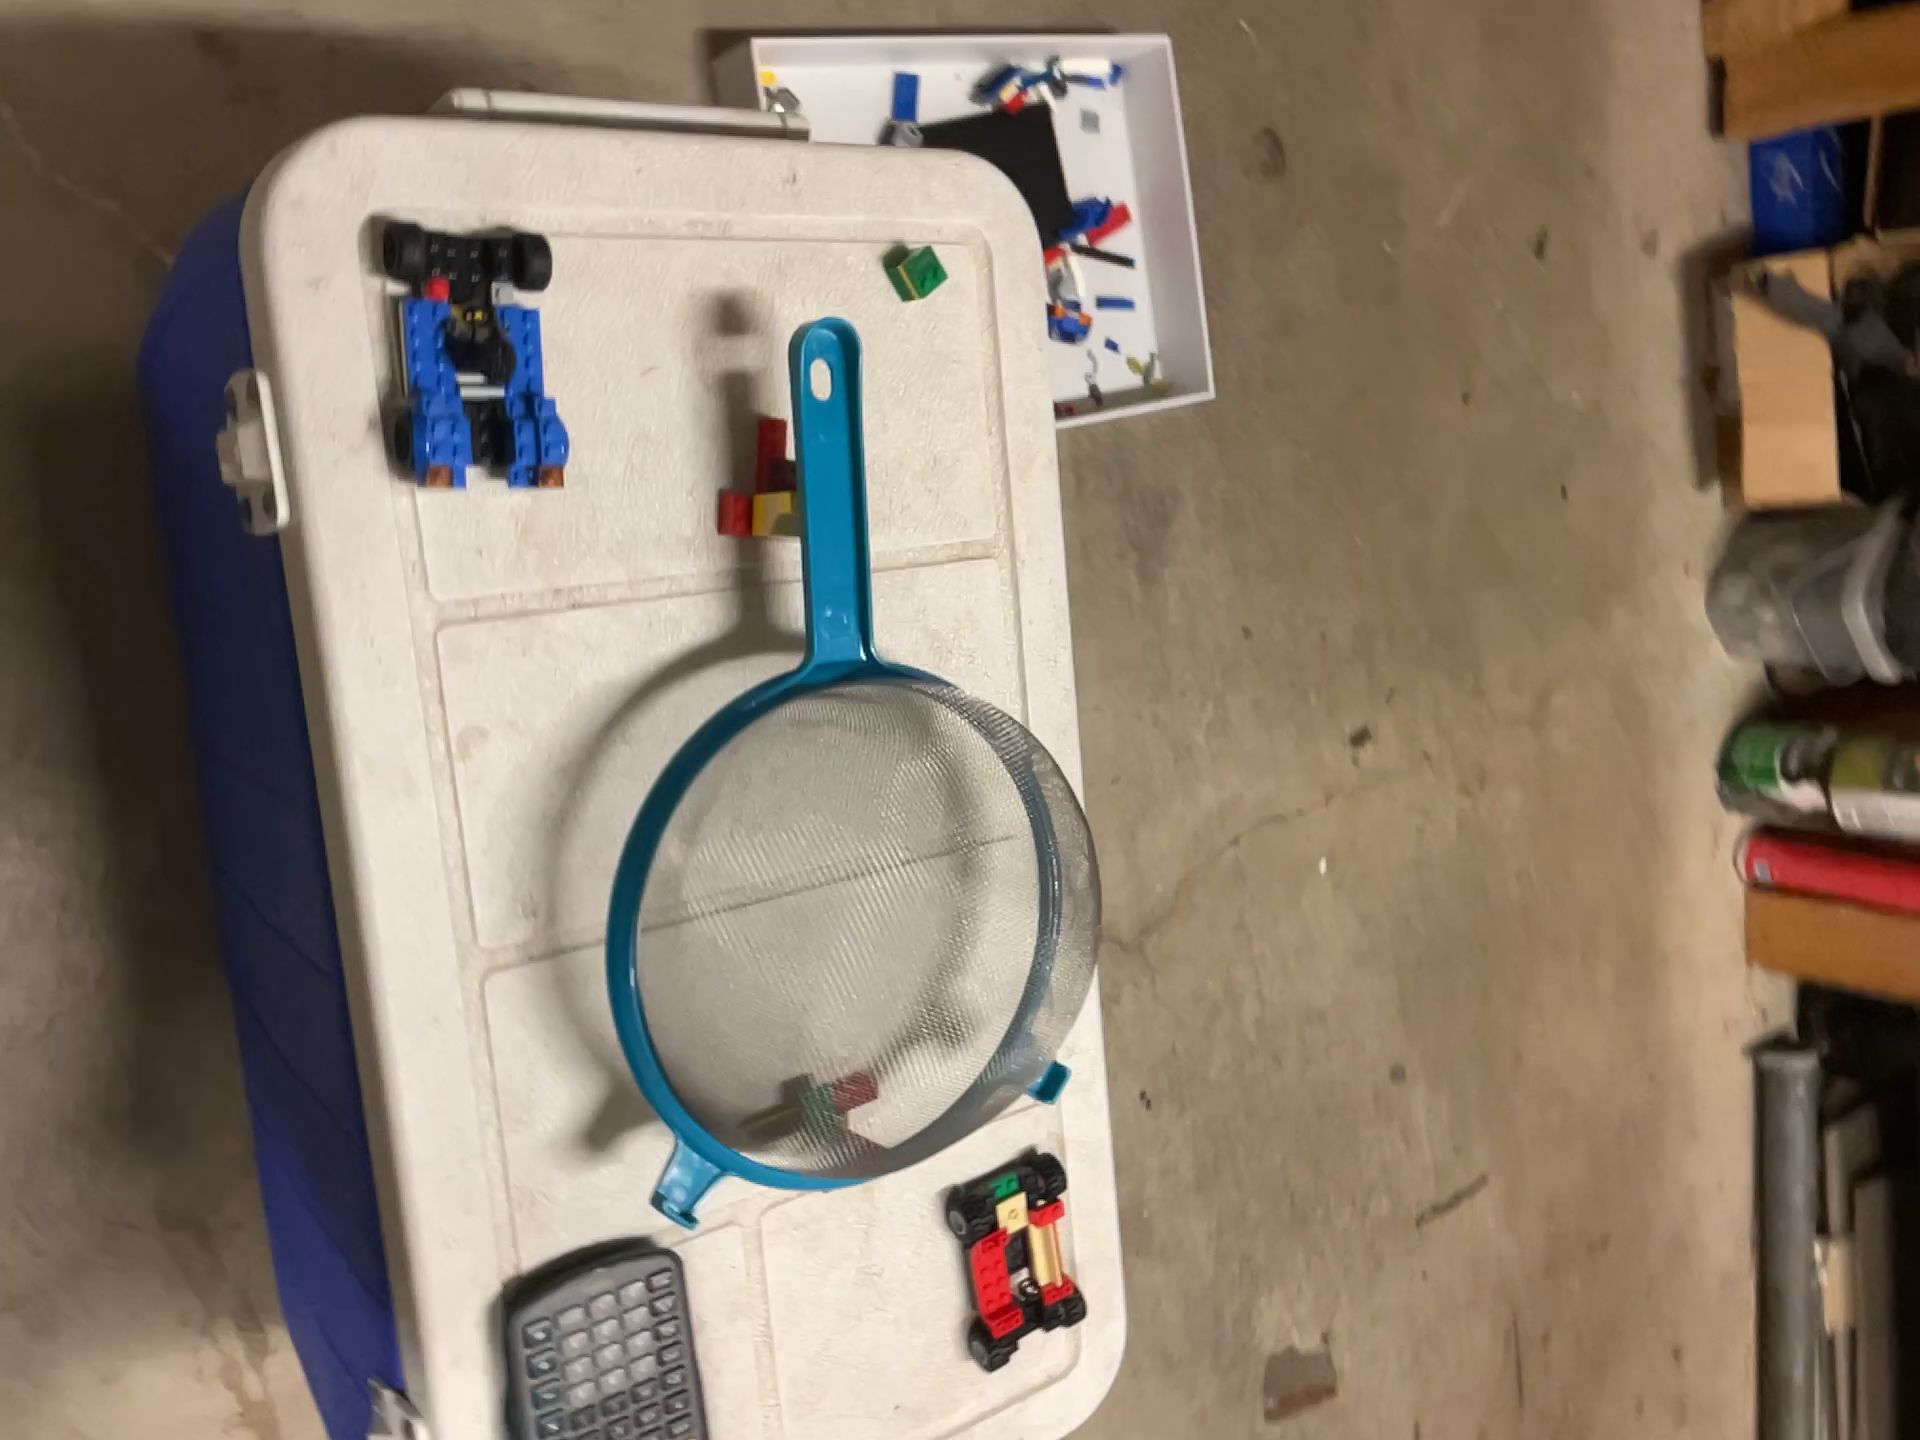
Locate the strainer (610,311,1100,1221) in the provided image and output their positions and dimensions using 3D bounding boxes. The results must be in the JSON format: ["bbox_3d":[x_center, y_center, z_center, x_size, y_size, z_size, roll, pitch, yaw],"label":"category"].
[{"bbox_3d":[-0.020,0.018,0.595,0.211,0.095,0.340,-9,100,-36],"label":"strainer"}]
